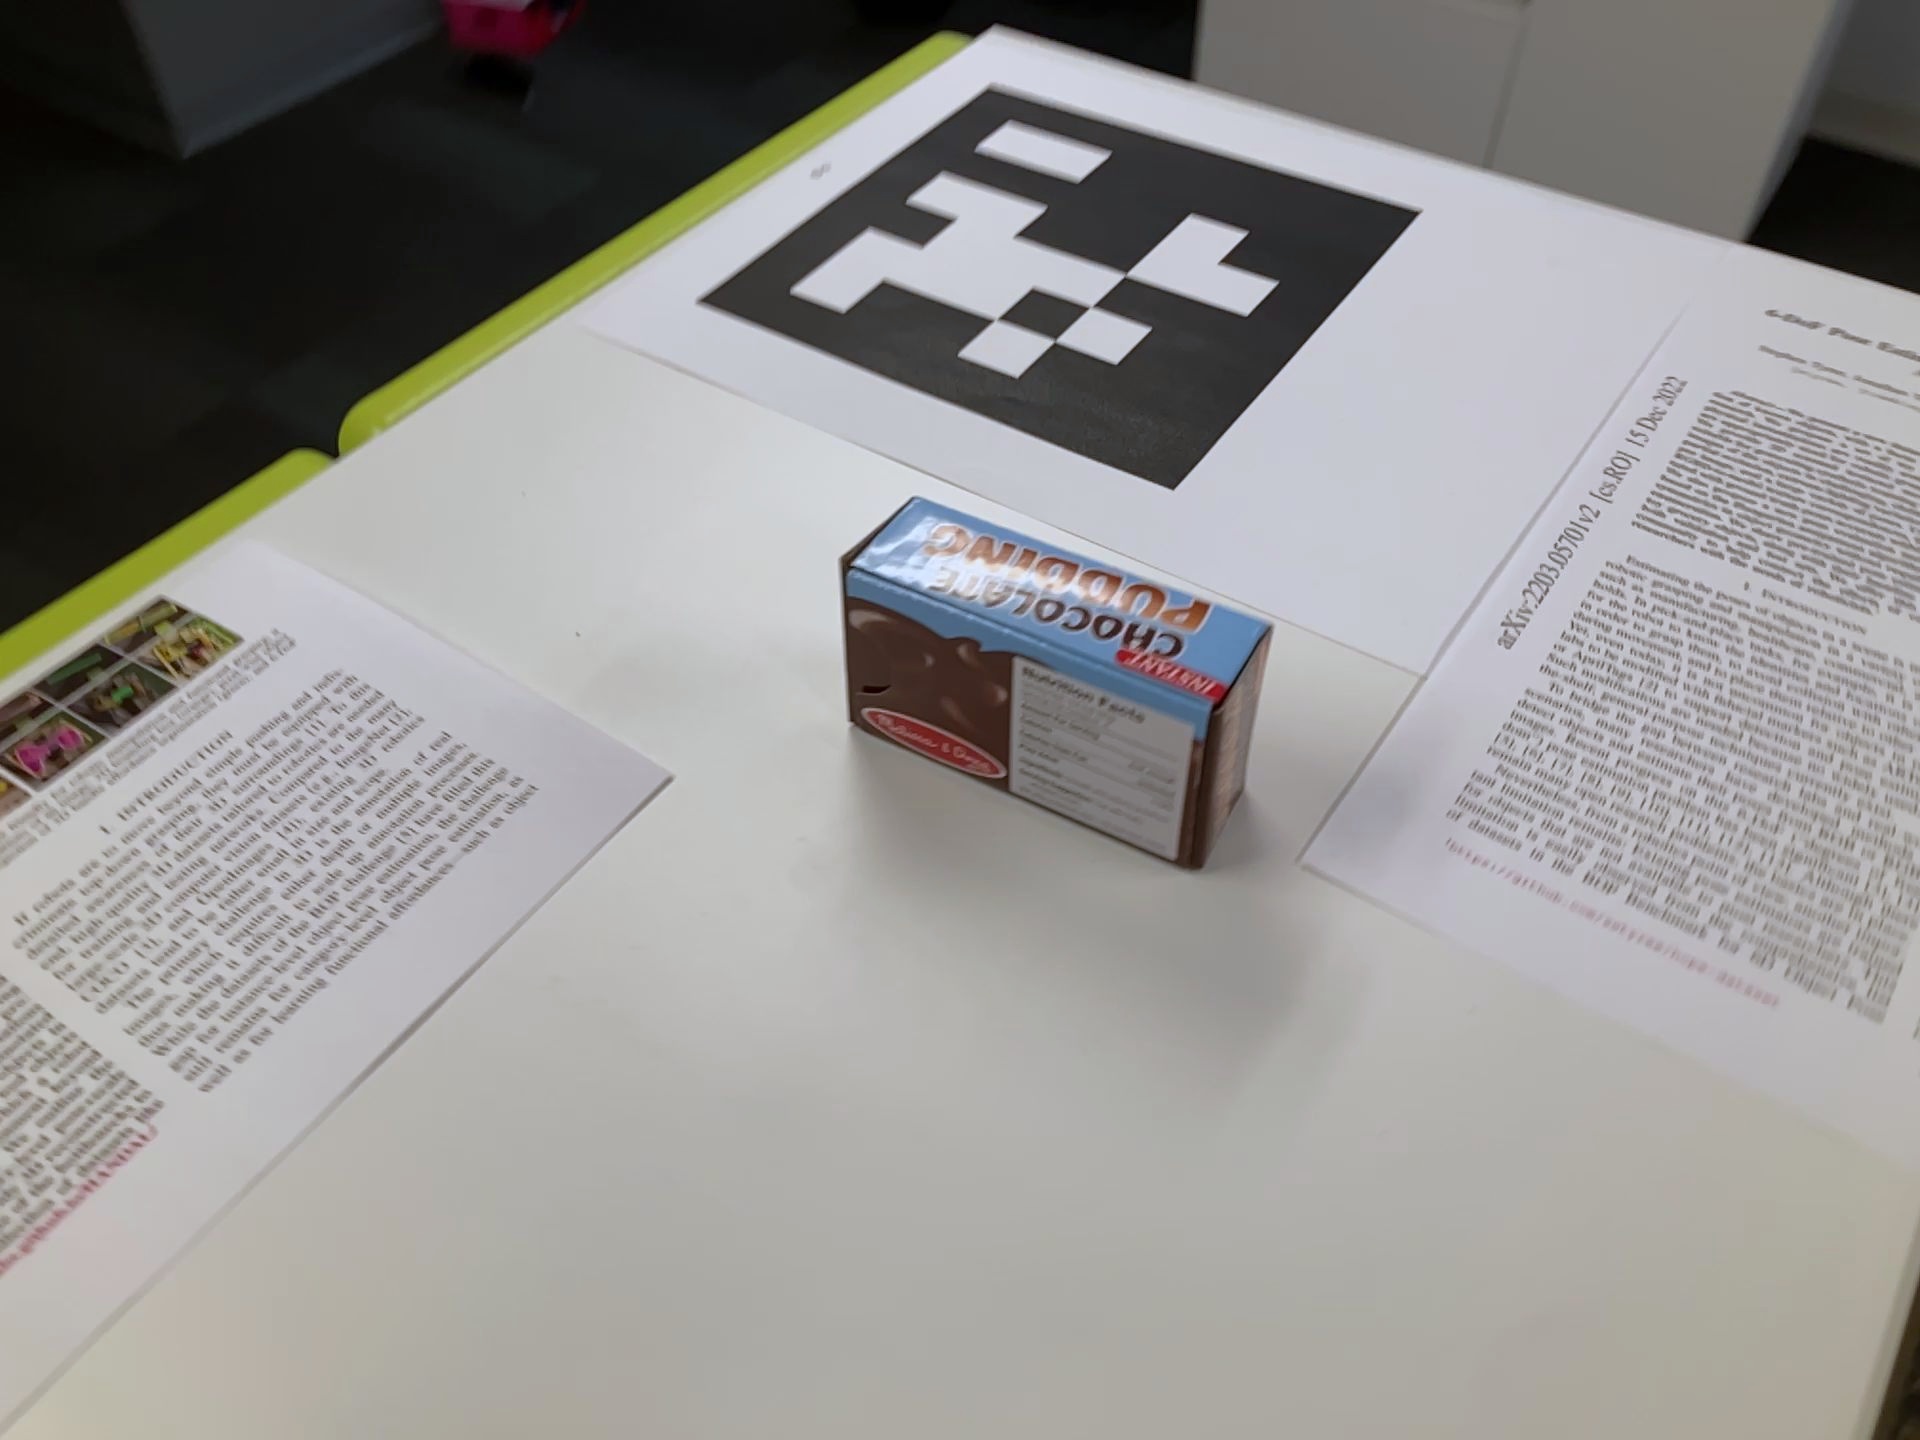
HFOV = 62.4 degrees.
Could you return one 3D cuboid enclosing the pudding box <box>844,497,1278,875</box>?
[{"bbox_3d":[0.018,-0.008,0.327,0.083,0.049,0.030,22,50,21],"label":"pudding box"}]
